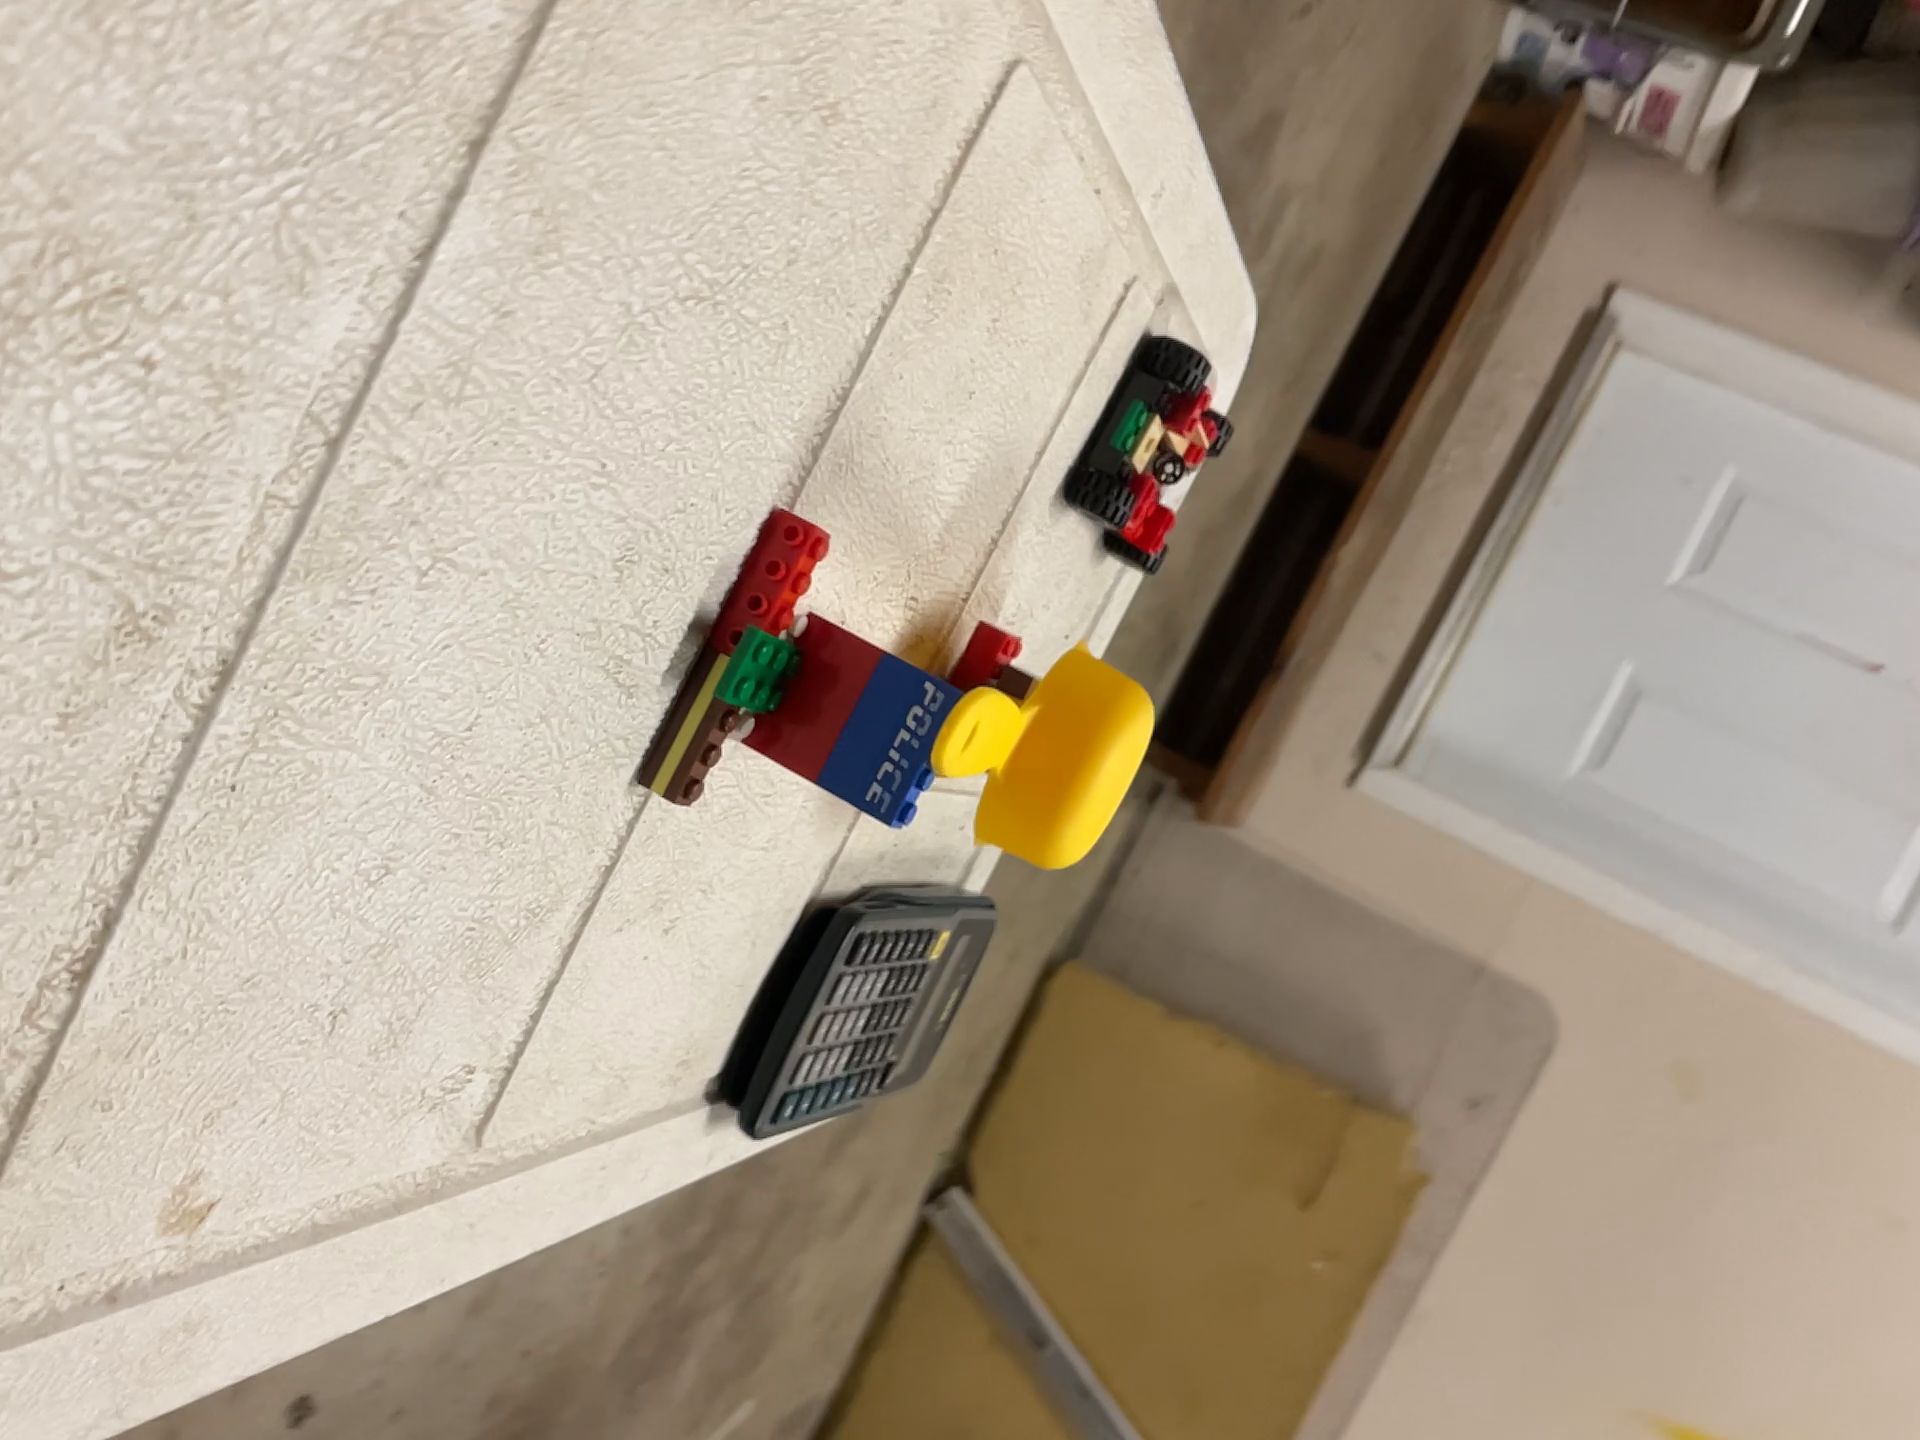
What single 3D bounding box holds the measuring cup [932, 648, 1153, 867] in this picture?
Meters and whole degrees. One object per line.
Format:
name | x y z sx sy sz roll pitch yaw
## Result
measuring cup | 0.022 0.011 0.395 0.062 0.029 0.156 -63 169 3
